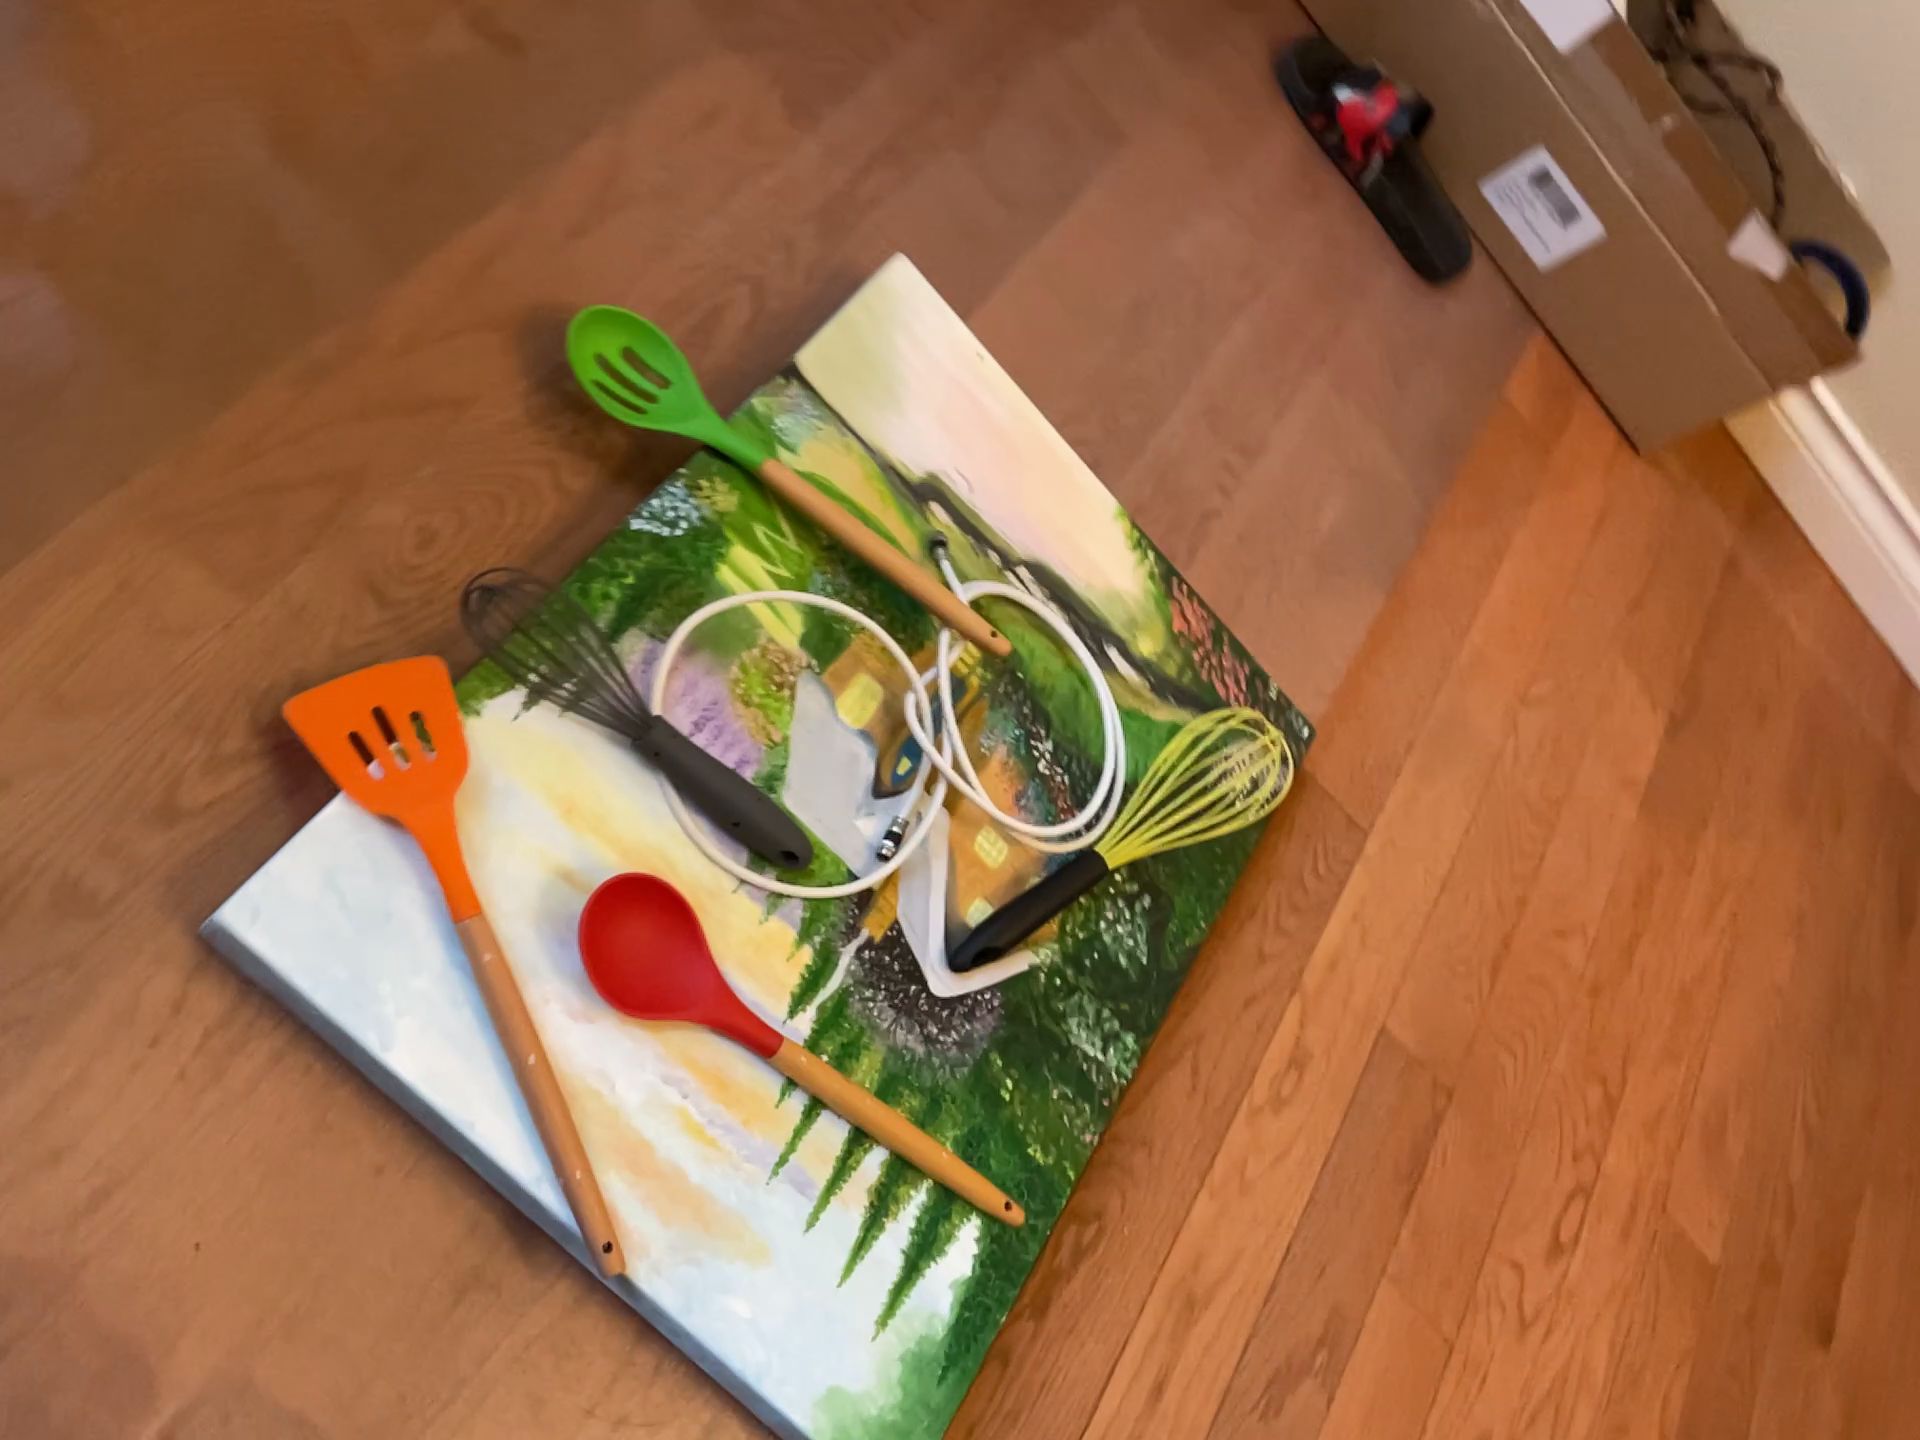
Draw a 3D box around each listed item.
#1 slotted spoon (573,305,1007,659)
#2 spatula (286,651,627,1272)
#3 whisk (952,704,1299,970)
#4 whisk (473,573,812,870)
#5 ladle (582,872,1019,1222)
[{"bbox_3d":[-0.099,-0.135,0.947,0.313,0.031,0.070,37,55,-6],"label":"slotted spoon"},{"bbox_3d":[-0.233,0.119,0.782,0.081,0.041,0.323,-22,90,-28],"label":"spatula"},{"bbox_3d":[0.107,0.076,1.020,0.311,0.067,0.080,-32,89,-33],"label":"whisk"},{"bbox_3d":[-0.164,0.005,0.847,0.238,0.055,0.055,43,65,-24],"label":"whisk"},{"bbox_3d":[-0.080,0.188,0.858,0.315,0.031,0.069,41,56,-21],"label":"ladle"}]
